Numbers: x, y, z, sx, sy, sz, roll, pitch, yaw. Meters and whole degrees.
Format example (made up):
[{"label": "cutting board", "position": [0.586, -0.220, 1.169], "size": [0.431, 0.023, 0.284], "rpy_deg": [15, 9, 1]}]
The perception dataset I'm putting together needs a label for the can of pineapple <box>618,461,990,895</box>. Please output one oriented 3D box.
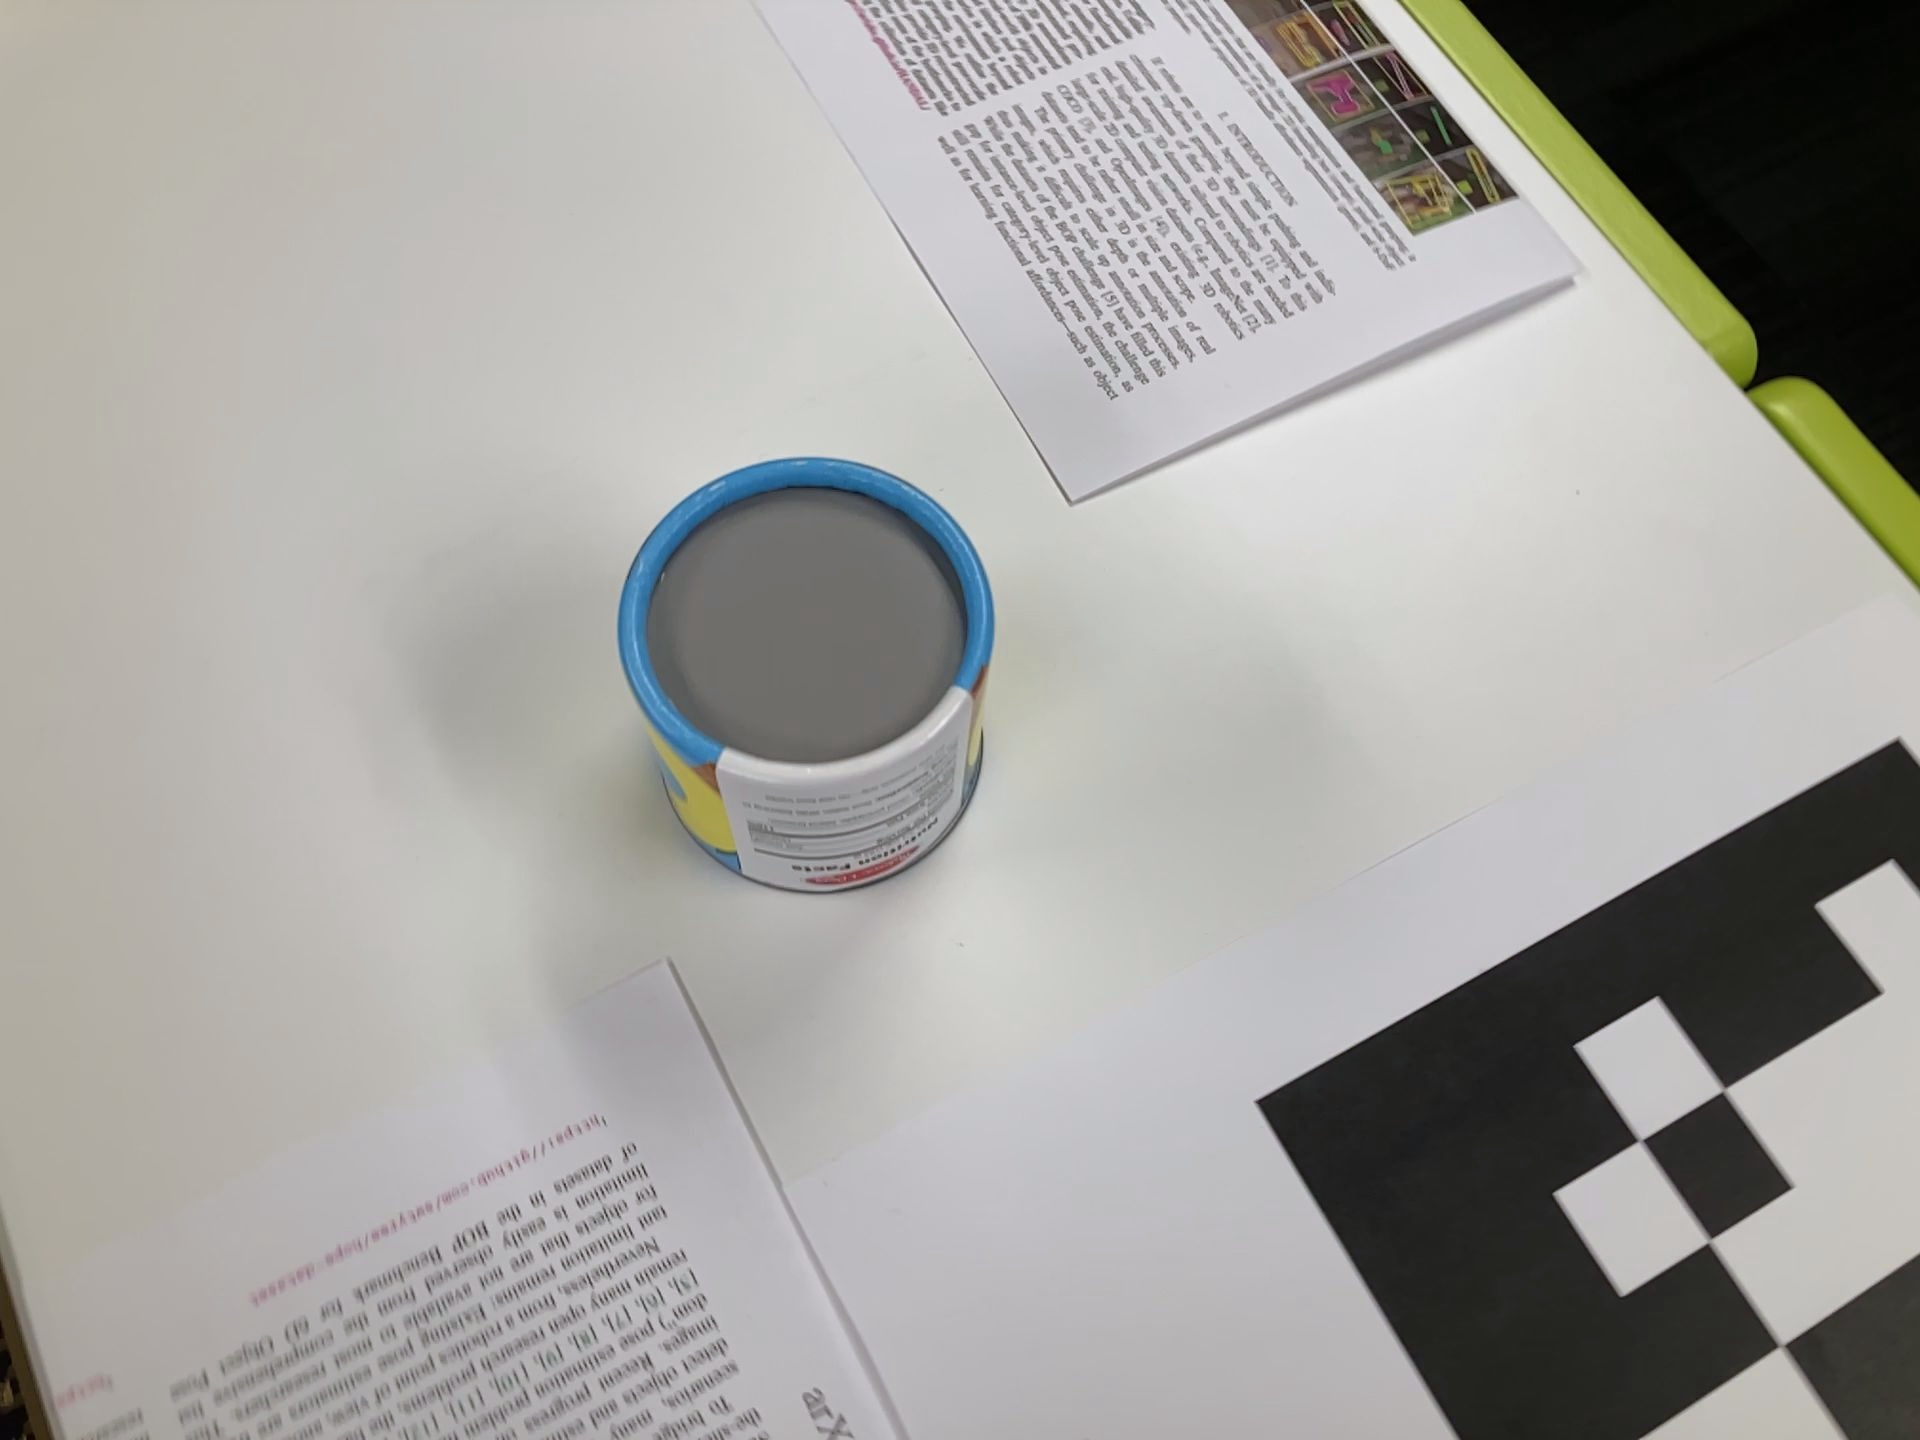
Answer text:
[{"label": "can of pineapple", "position": [-0.029, -0.008, 0.302], "size": [0.071, 0.058, 0.071], "rpy_deg": [1, 66, -2]}]
